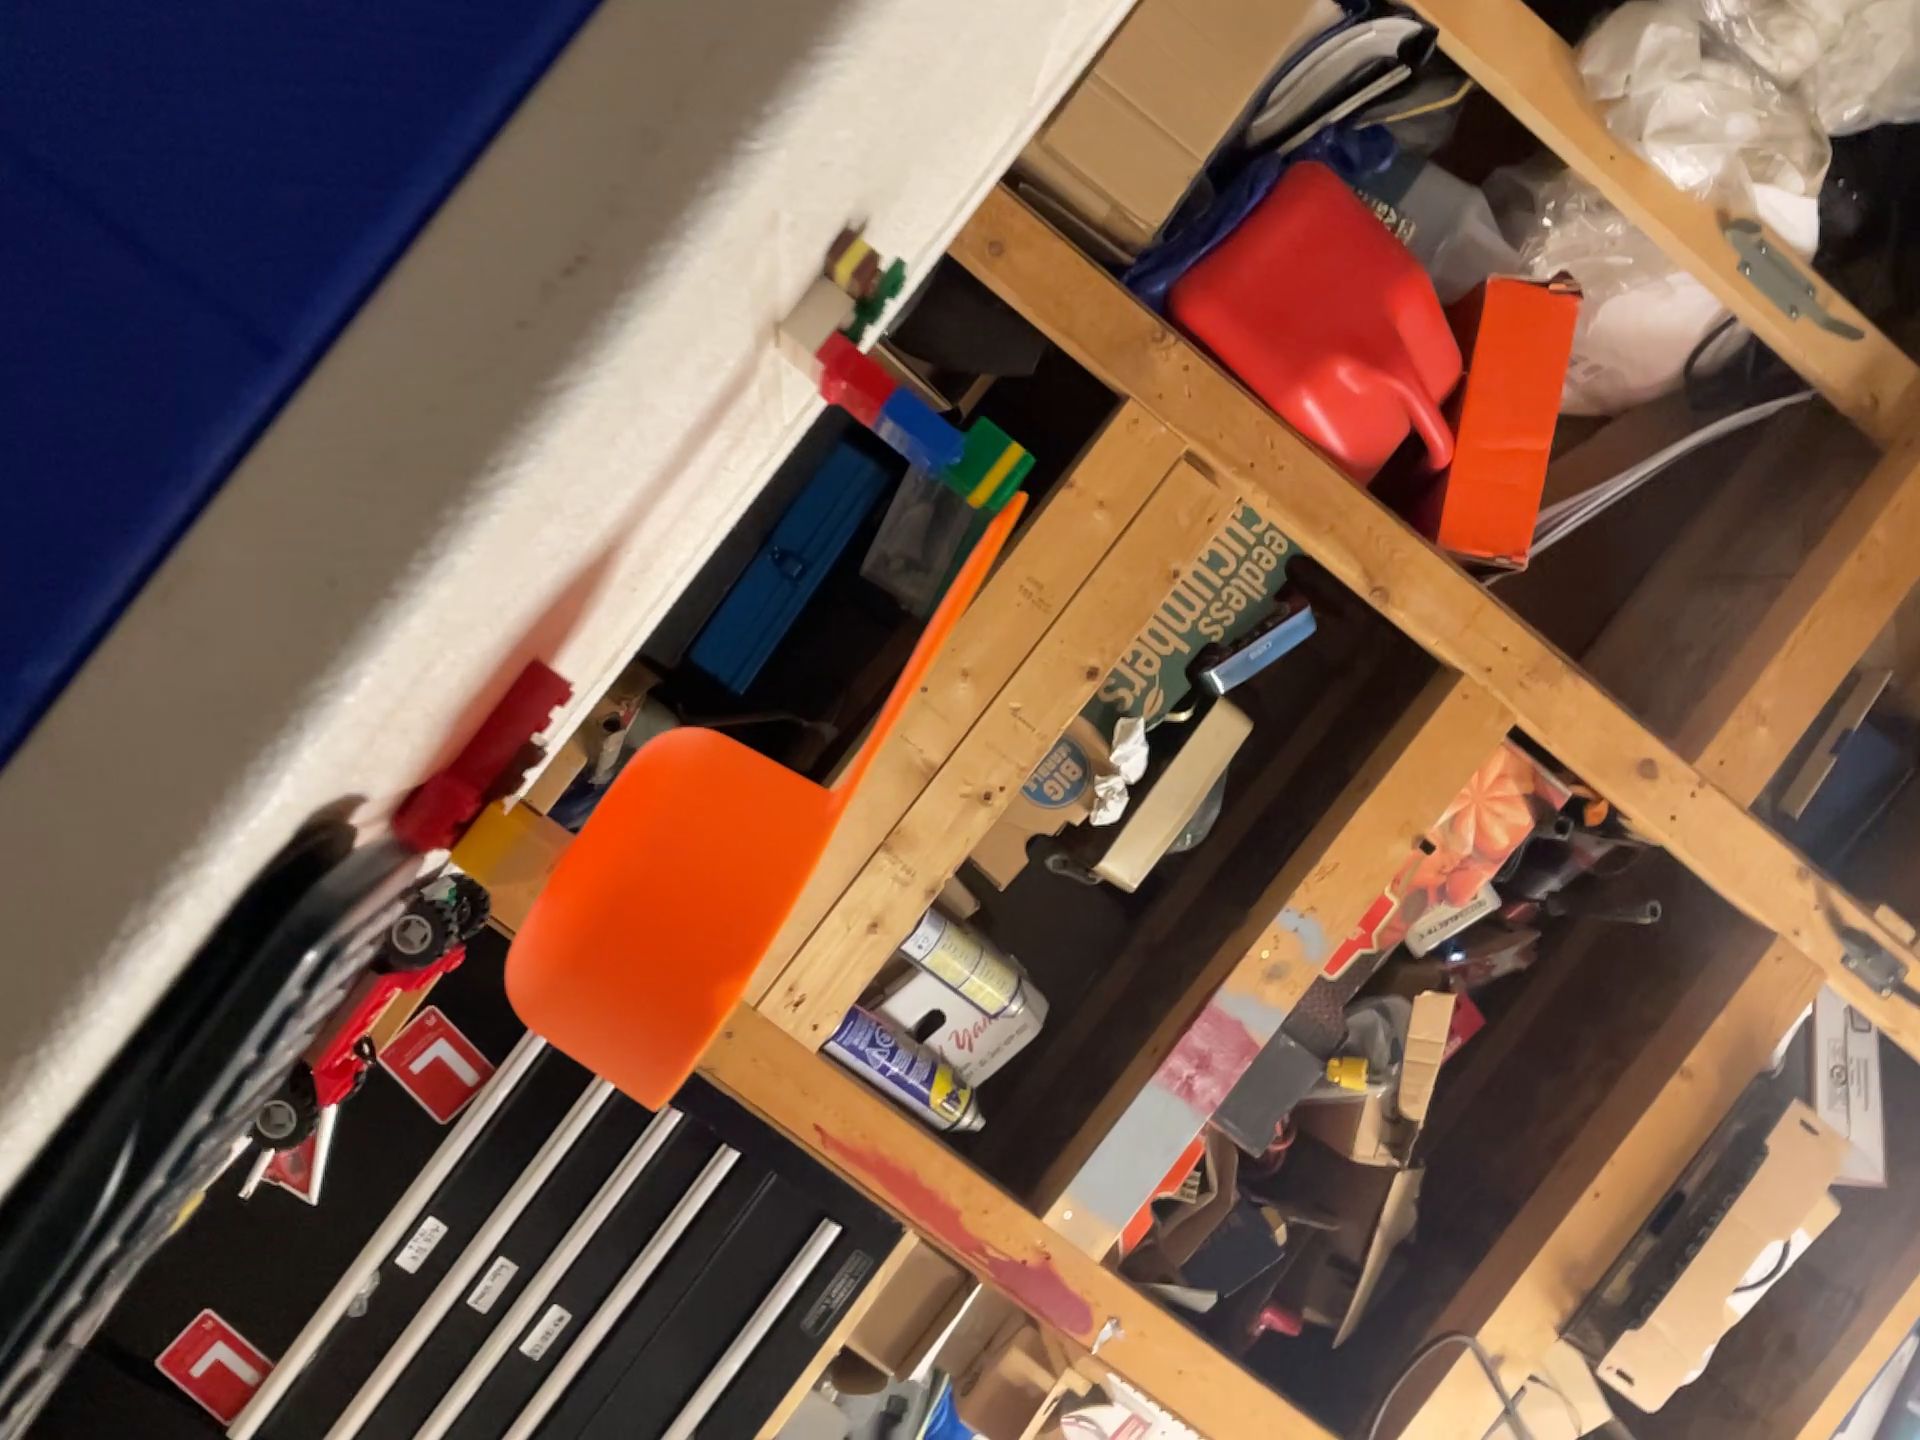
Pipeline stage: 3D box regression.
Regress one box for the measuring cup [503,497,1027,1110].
[{"bbox_3d":[-0.049,0.008,0.388,0.173,0.052,0.095,-58,-174,4],"label":"measuring cup"}]
